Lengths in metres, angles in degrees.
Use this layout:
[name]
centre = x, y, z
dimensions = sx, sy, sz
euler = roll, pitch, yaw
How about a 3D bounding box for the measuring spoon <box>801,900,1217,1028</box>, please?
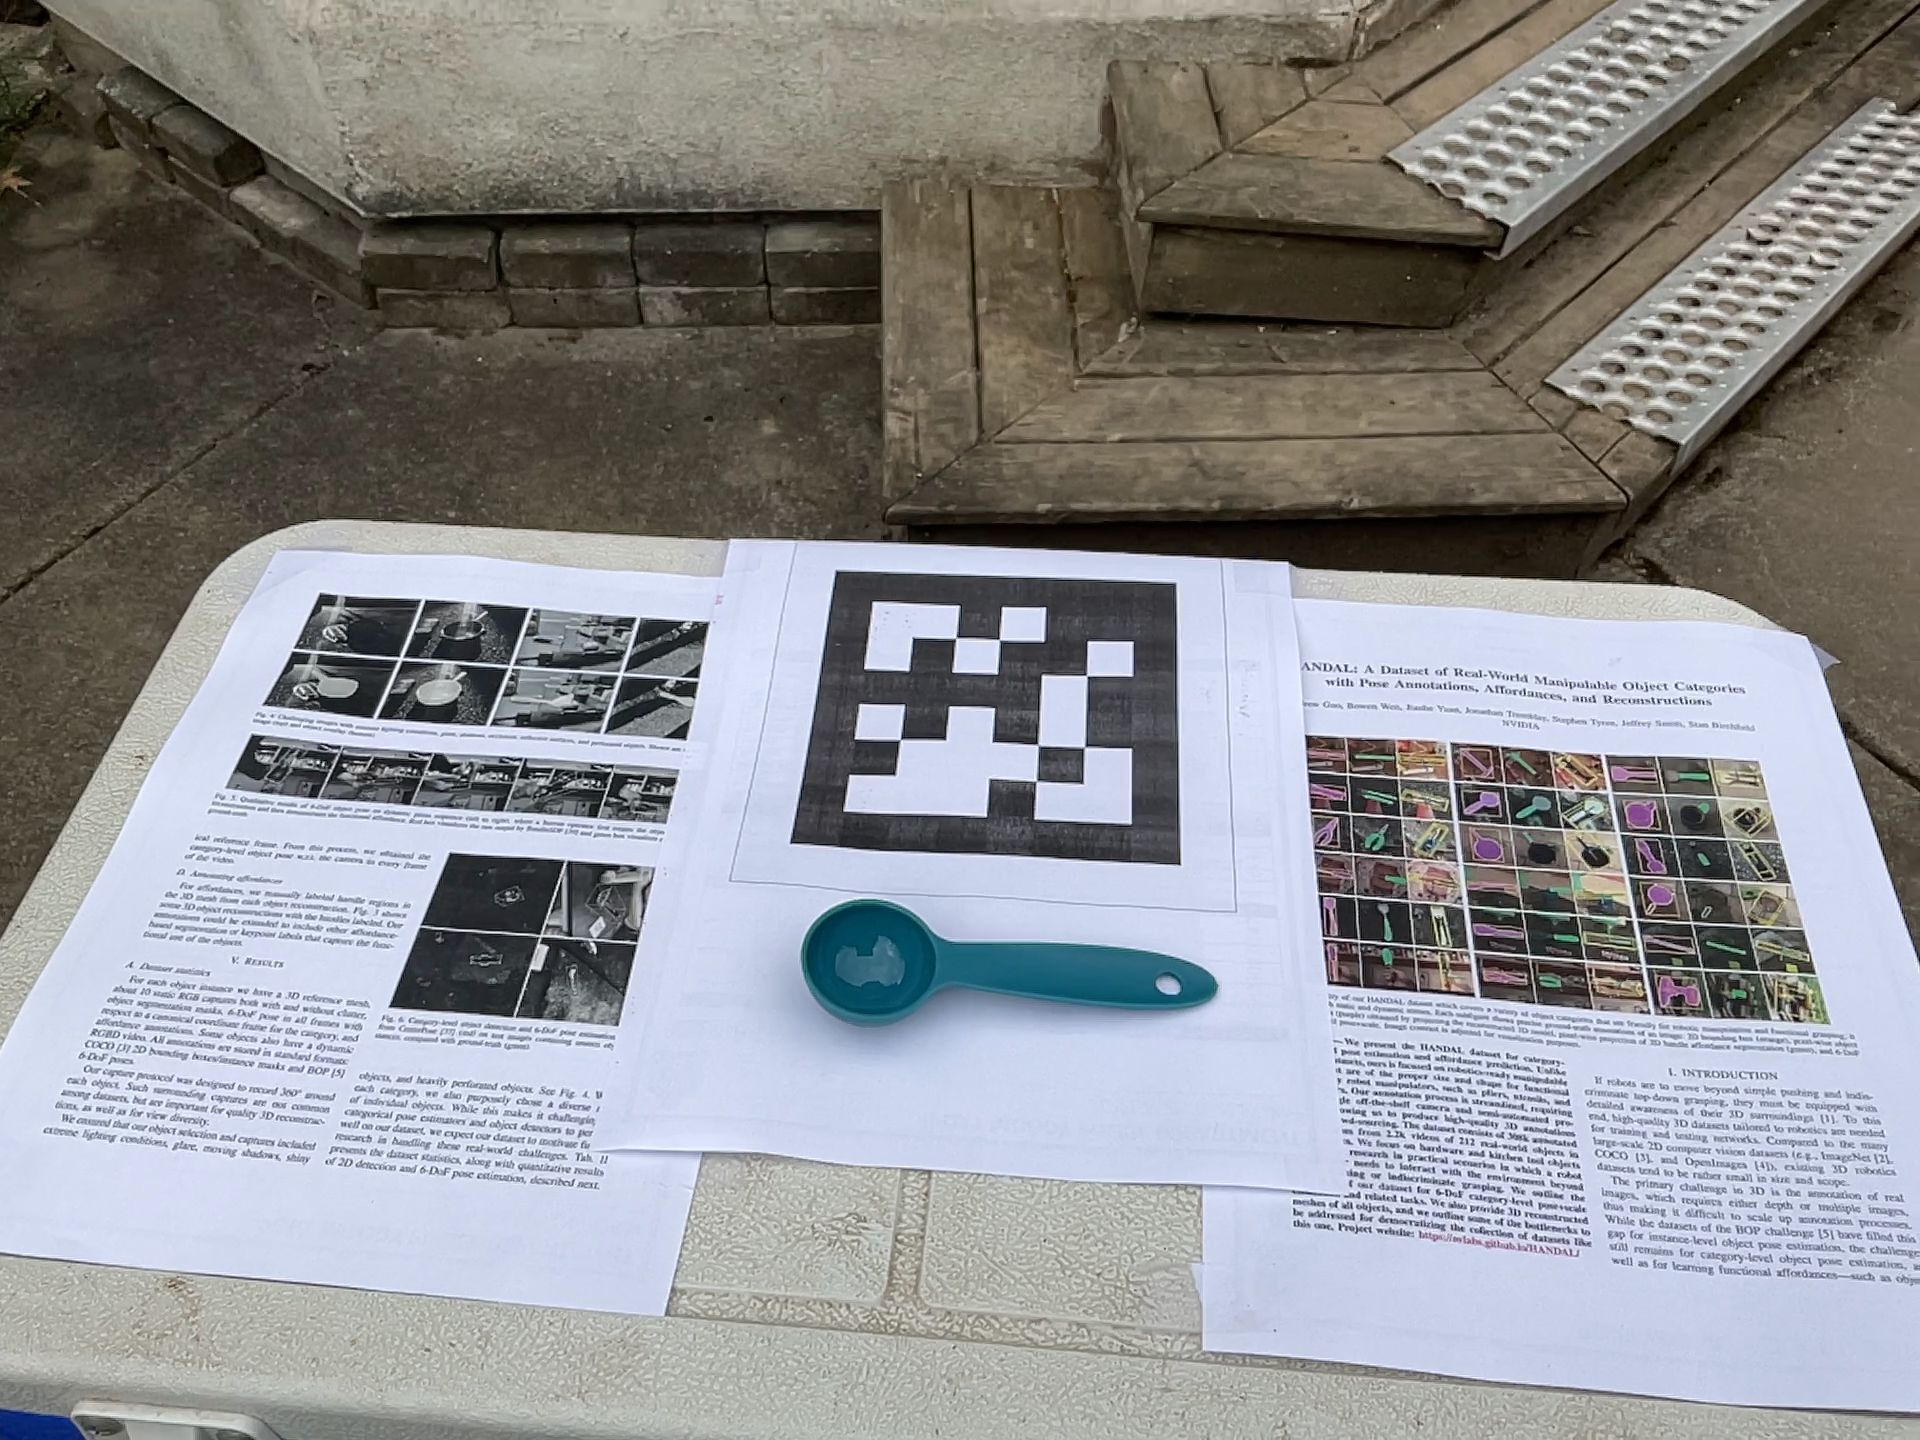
[measuring spoon]
centre = 0.014, 0.082, 0.493
dimensions = 0.128, 0.021, 0.042
euler = 6, 49, -6
